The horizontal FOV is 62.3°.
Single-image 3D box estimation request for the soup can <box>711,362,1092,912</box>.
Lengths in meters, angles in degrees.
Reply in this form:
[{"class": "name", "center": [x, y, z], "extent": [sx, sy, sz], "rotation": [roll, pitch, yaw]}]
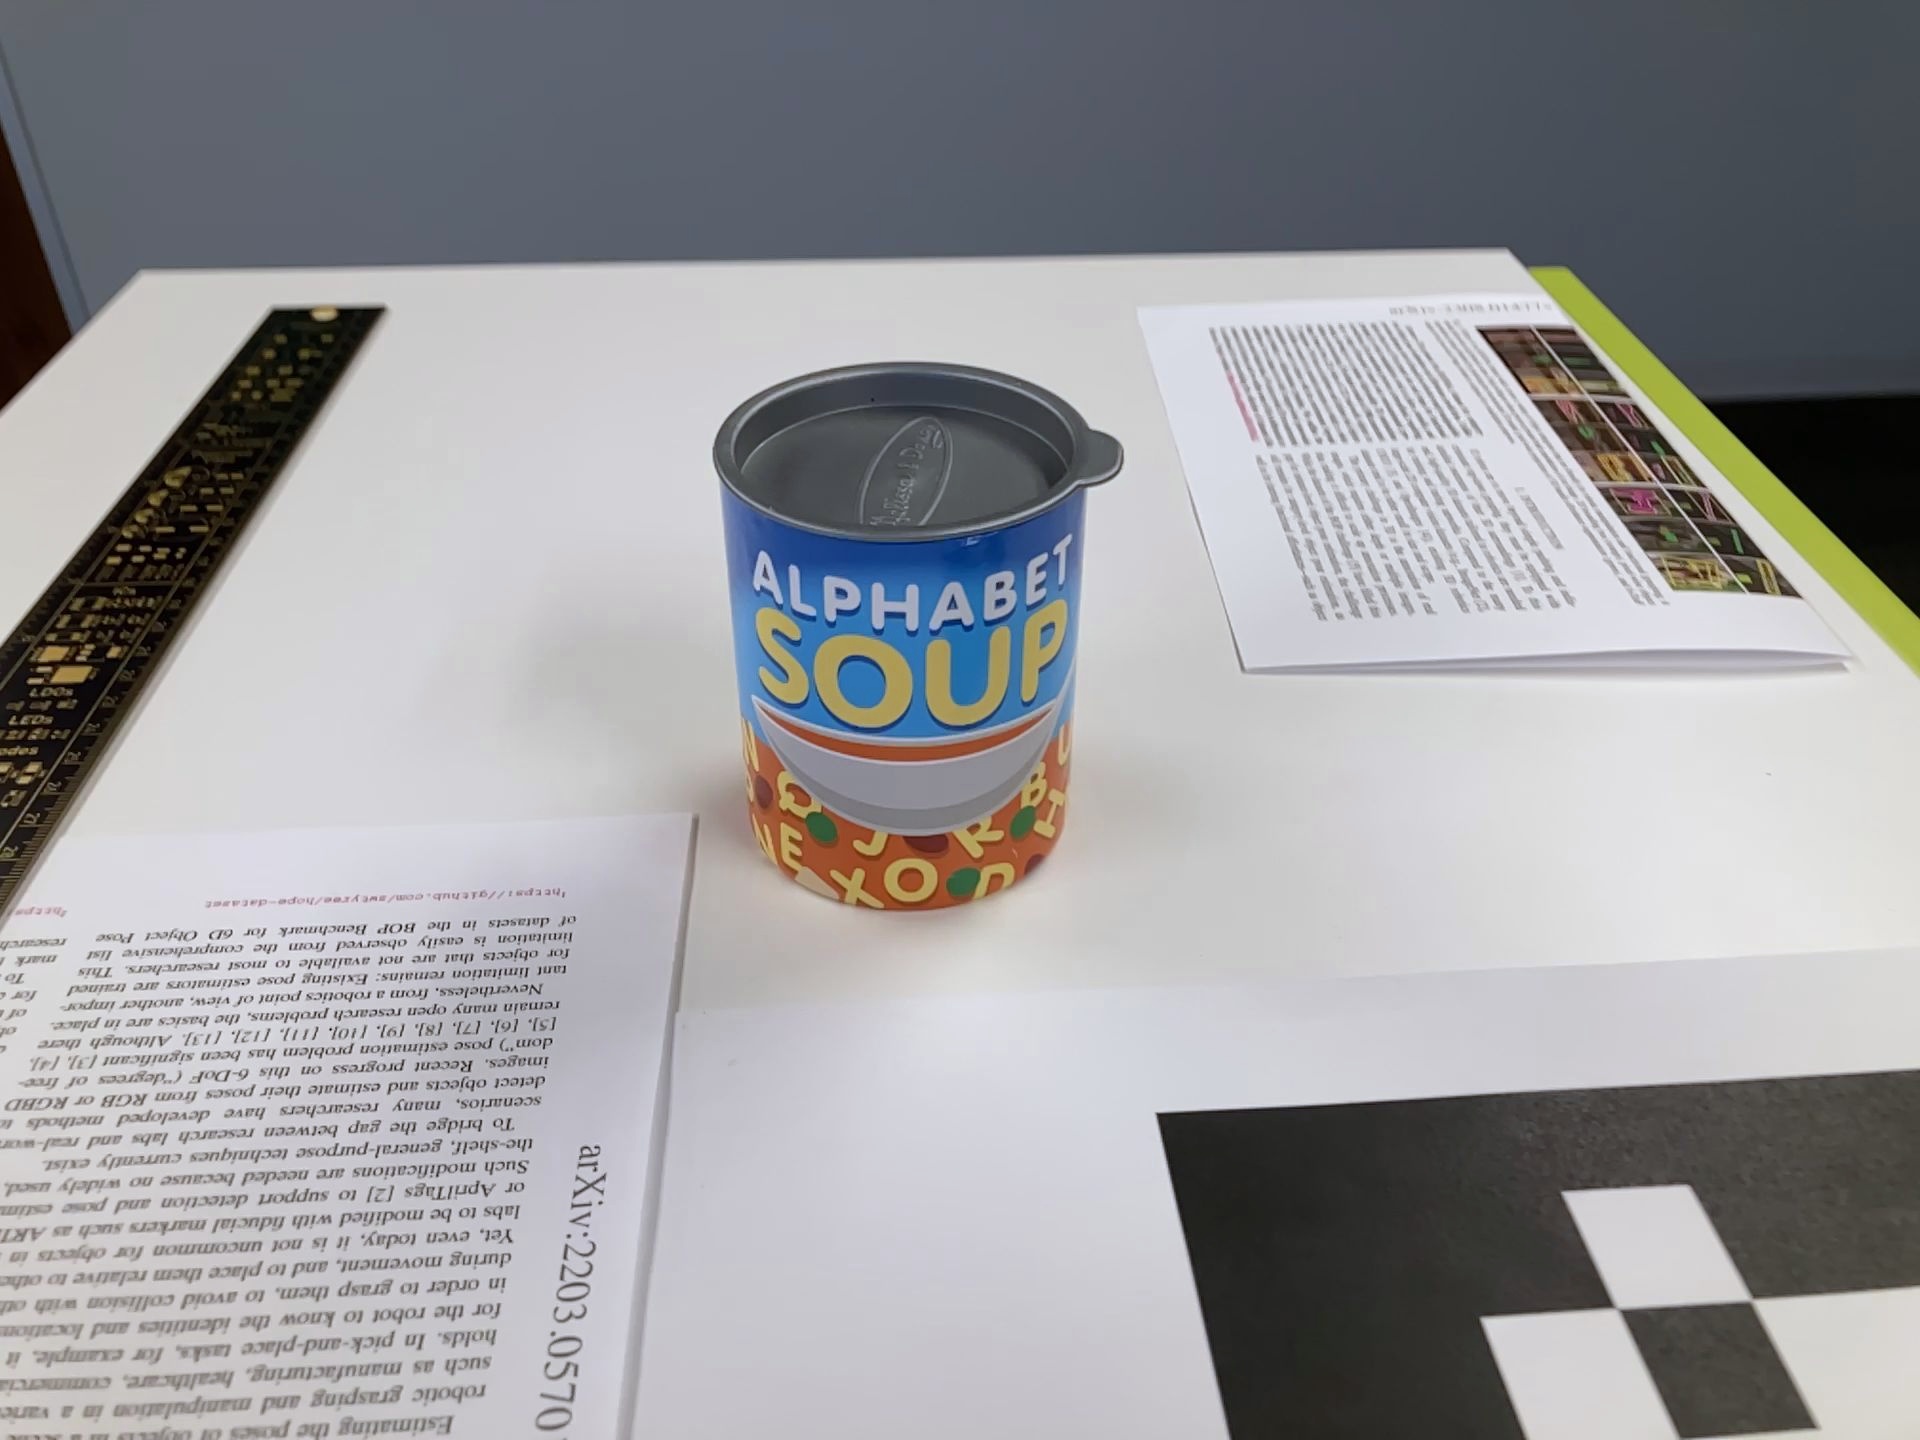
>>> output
[{"class": "soup can", "center": [-0.010, -0.014, 0.299], "extent": [0.071, 0.084, 0.071], "rotation": [0, 36, 0]}]
